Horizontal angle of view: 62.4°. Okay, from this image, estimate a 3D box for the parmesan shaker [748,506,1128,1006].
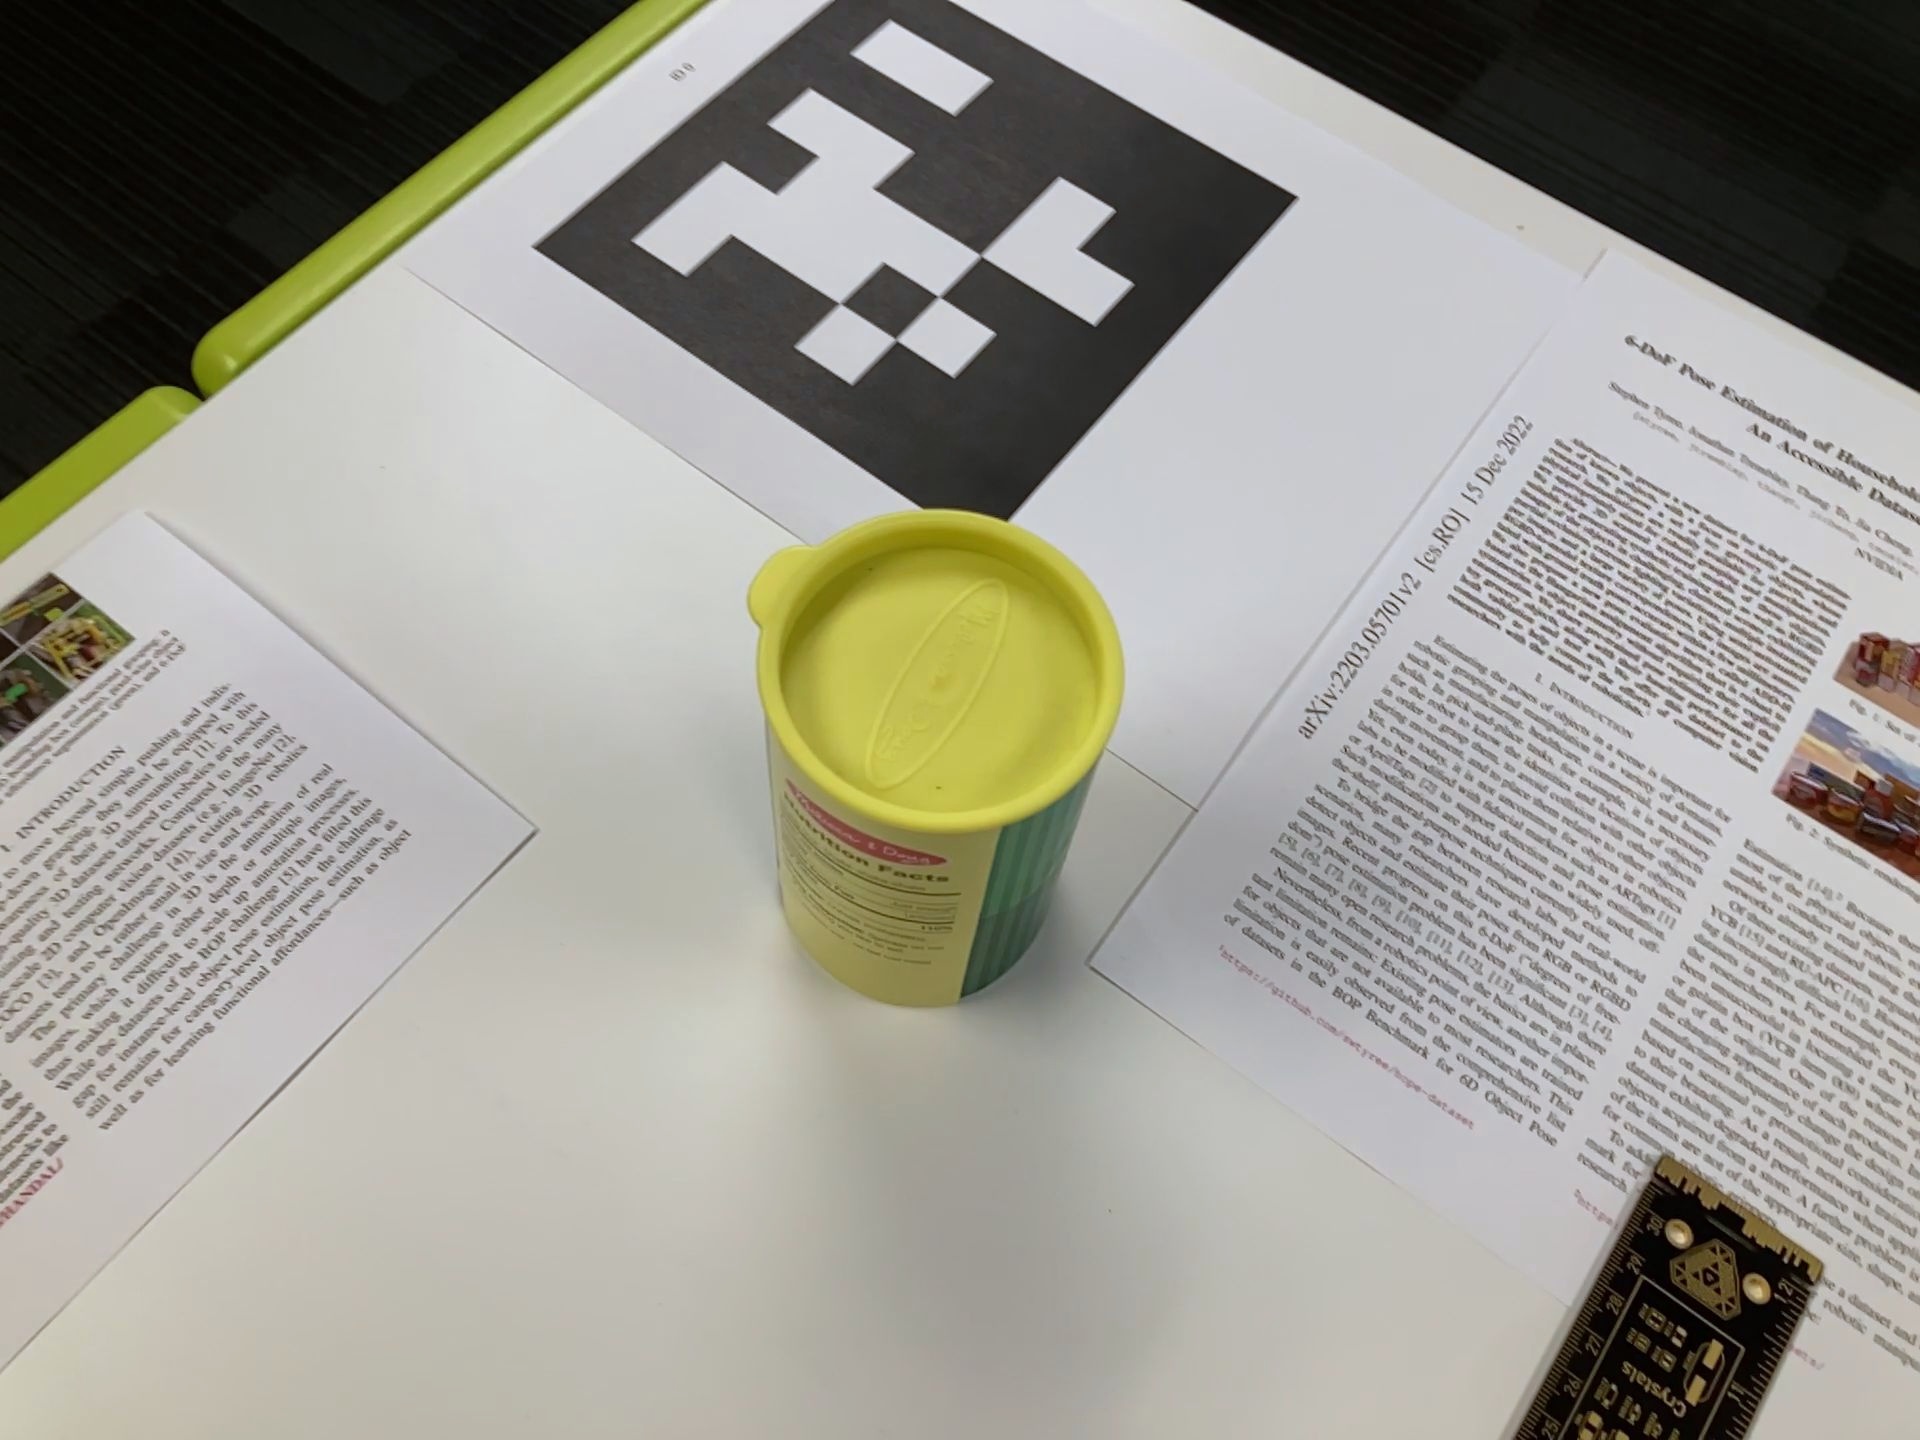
[{"bbox_3d":[-0.009,0.011,0.329,0.071,0.103,0.071,2,63,-4],"label":"parmesan shaker"}]
